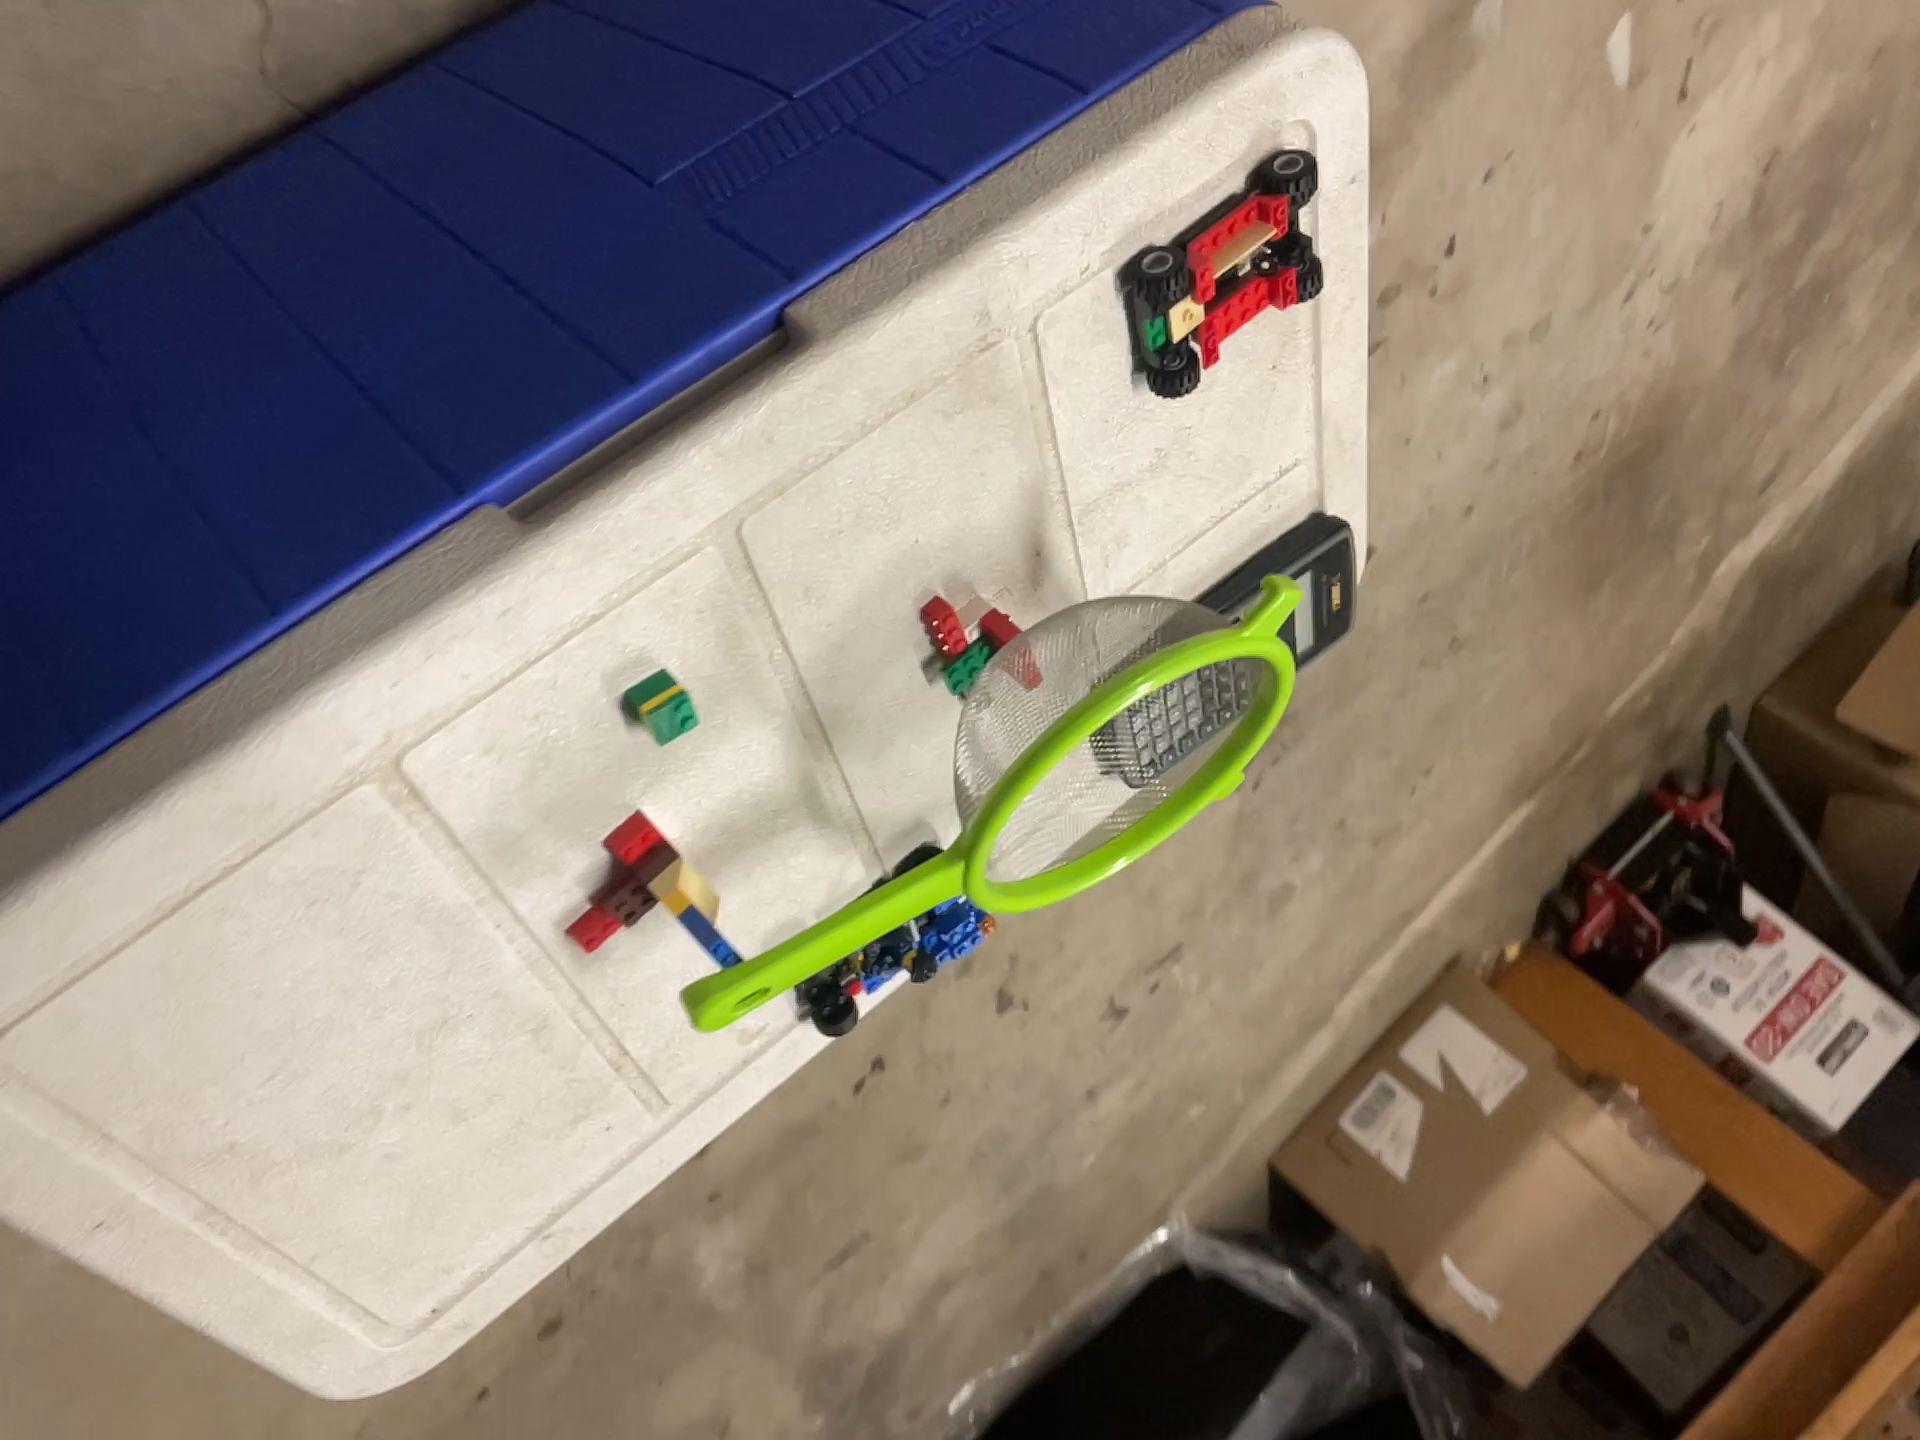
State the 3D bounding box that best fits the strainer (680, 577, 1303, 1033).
[{"bbox_3d":[0.003,0.026,0.594,0.256,0.069,0.151,-28,154,-15],"label":"strainer"}]
